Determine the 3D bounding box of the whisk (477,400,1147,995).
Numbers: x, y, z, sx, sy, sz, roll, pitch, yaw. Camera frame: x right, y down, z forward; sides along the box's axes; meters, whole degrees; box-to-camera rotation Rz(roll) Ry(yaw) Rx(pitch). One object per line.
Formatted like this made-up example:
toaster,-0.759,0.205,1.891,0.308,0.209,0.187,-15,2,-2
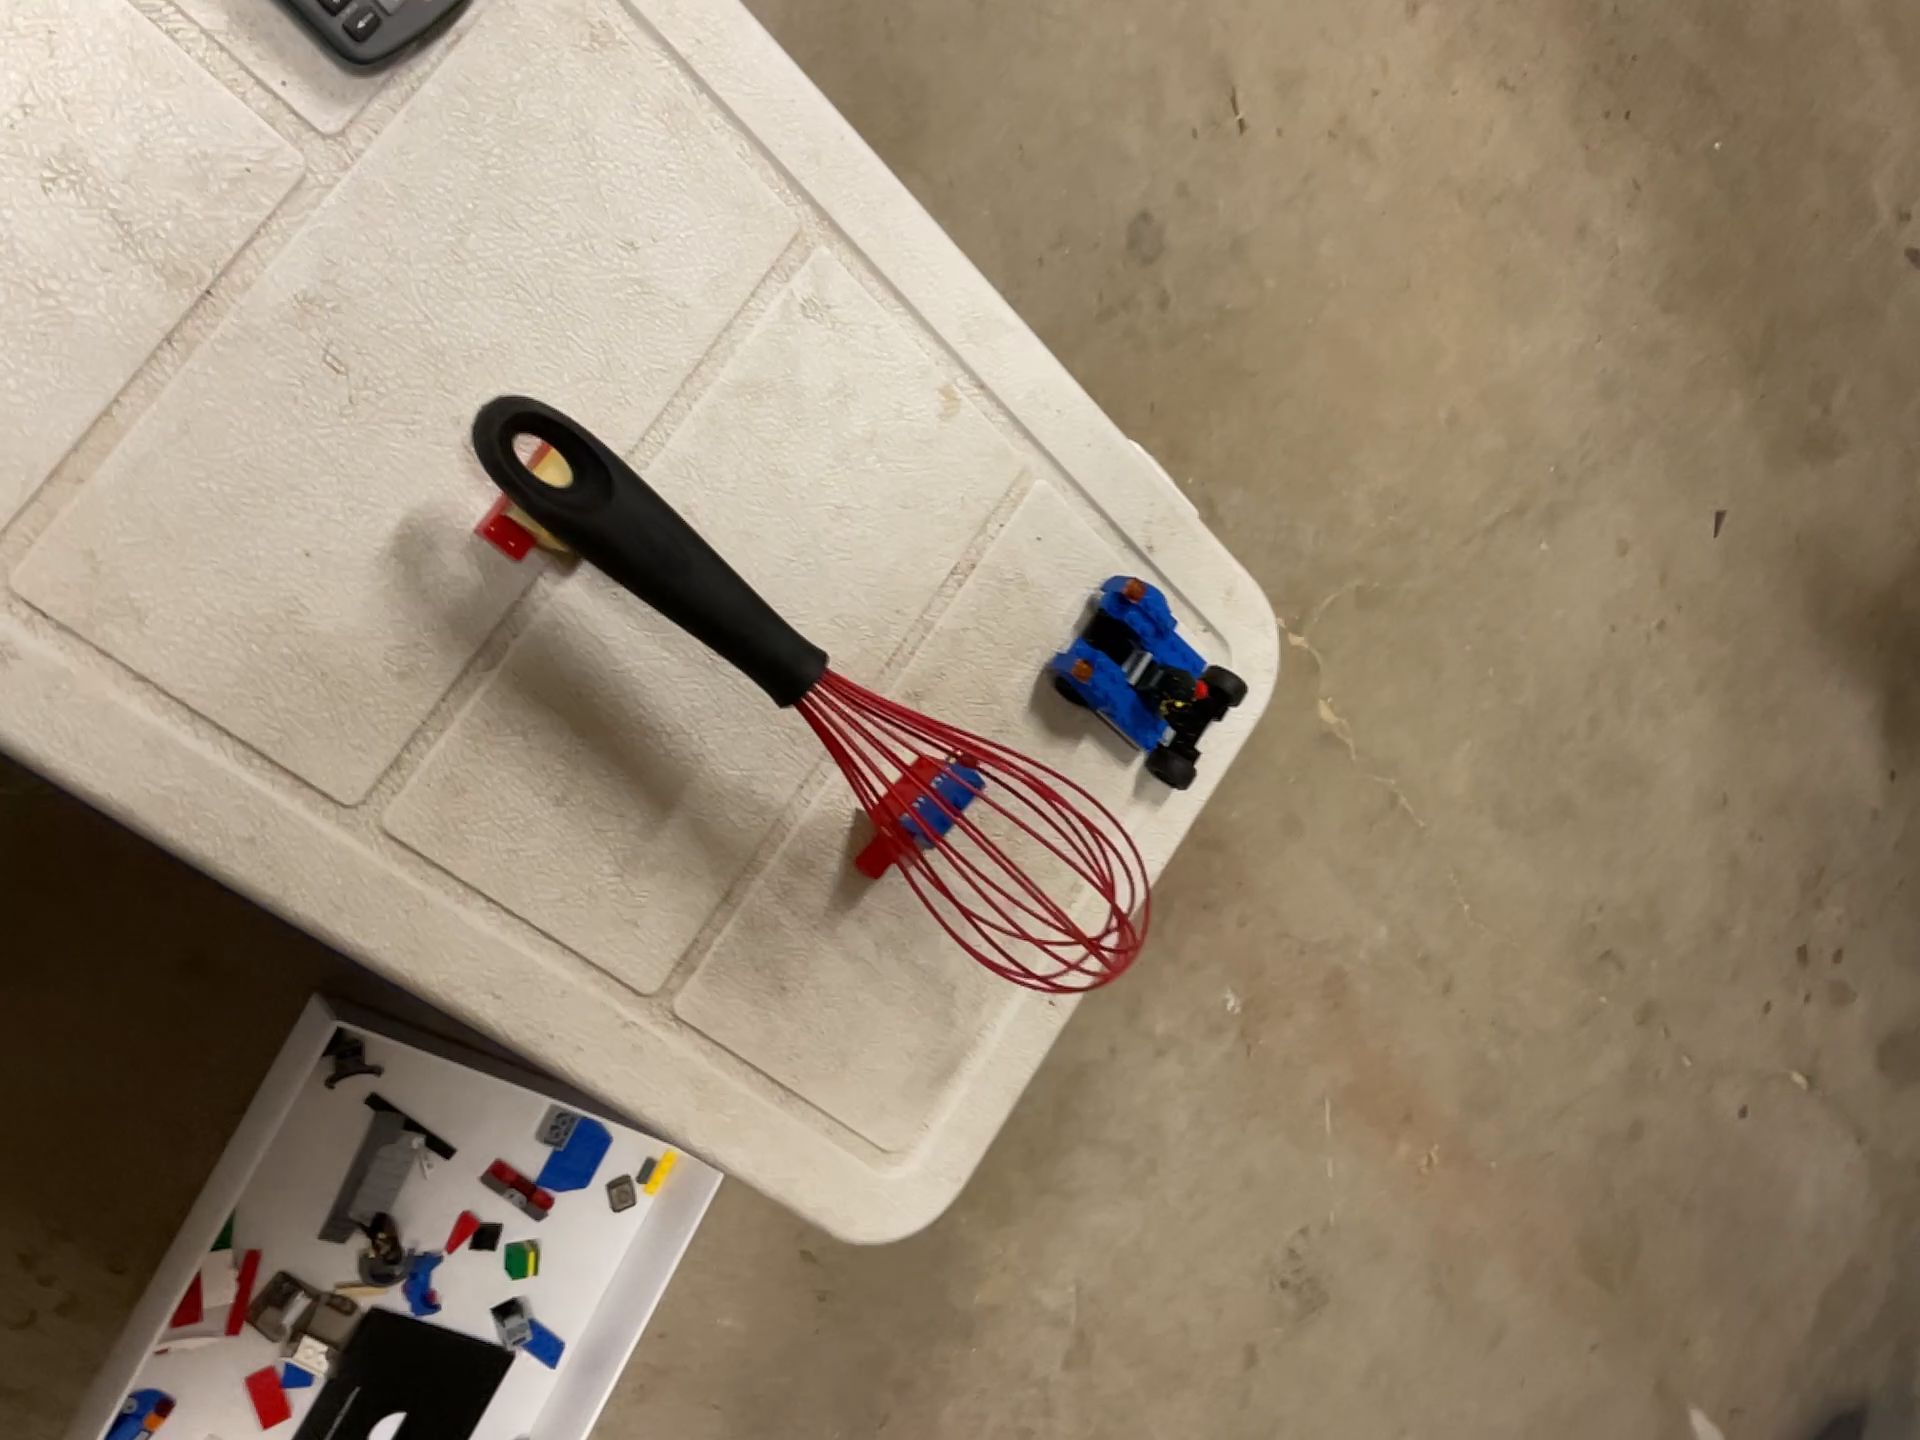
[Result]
whisk,-0.039,-0.001,0.531,0.295,0.073,0.073,42,79,-22
